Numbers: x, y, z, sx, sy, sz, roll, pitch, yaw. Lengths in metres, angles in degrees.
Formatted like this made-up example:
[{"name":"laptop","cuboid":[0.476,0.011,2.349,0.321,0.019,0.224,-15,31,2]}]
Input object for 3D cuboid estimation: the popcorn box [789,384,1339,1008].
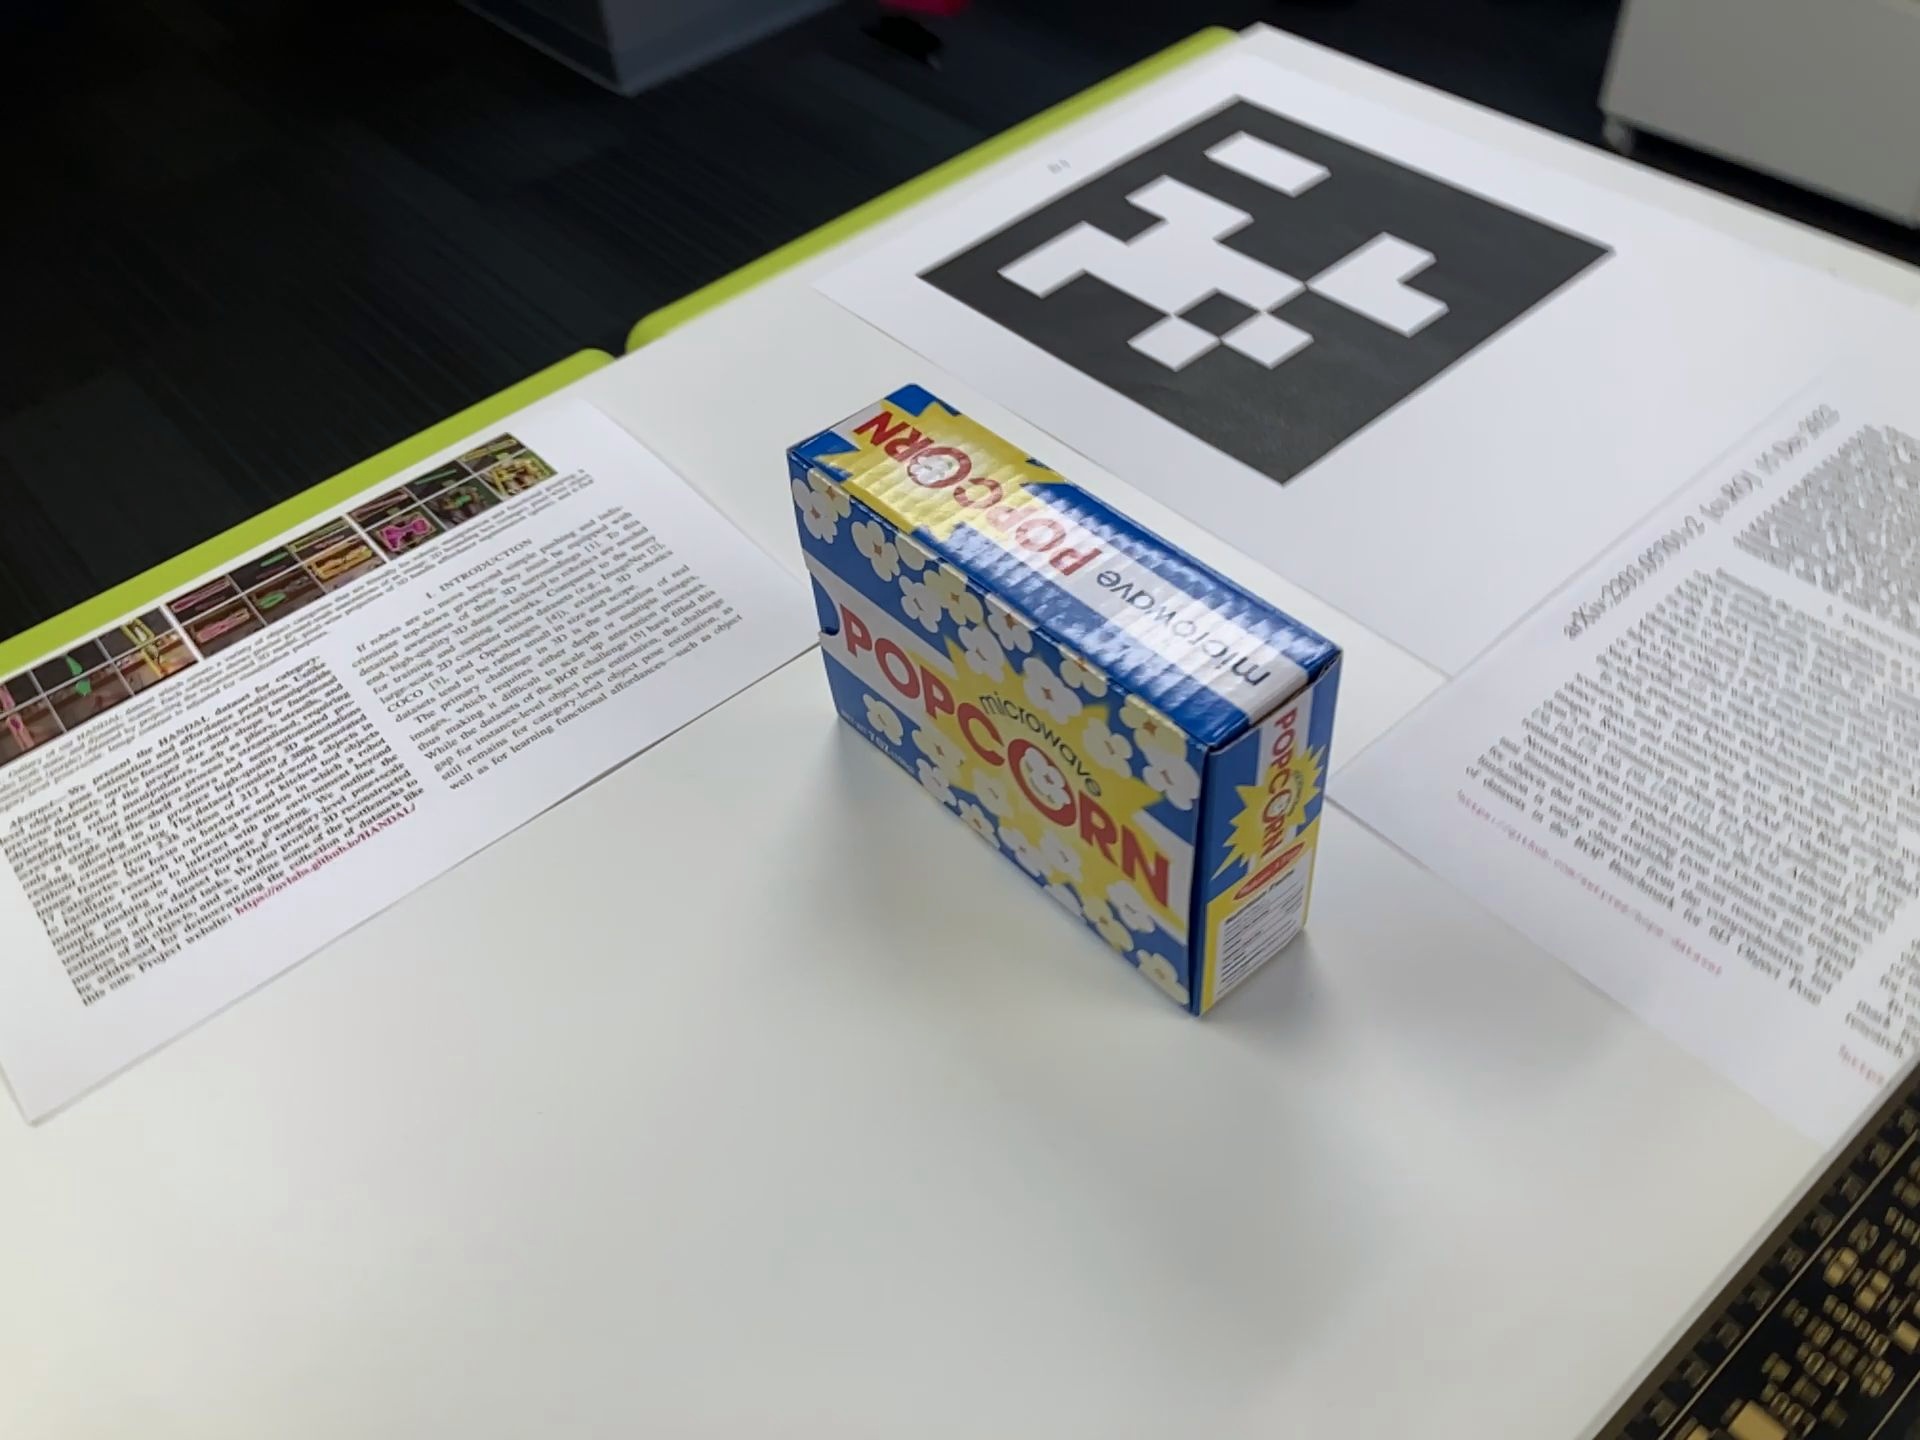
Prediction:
[{"name":"popcorn box","cuboid":[0.020,-0.007,0.347,0.038,0.085,0.126,-35,53,-23]}]
